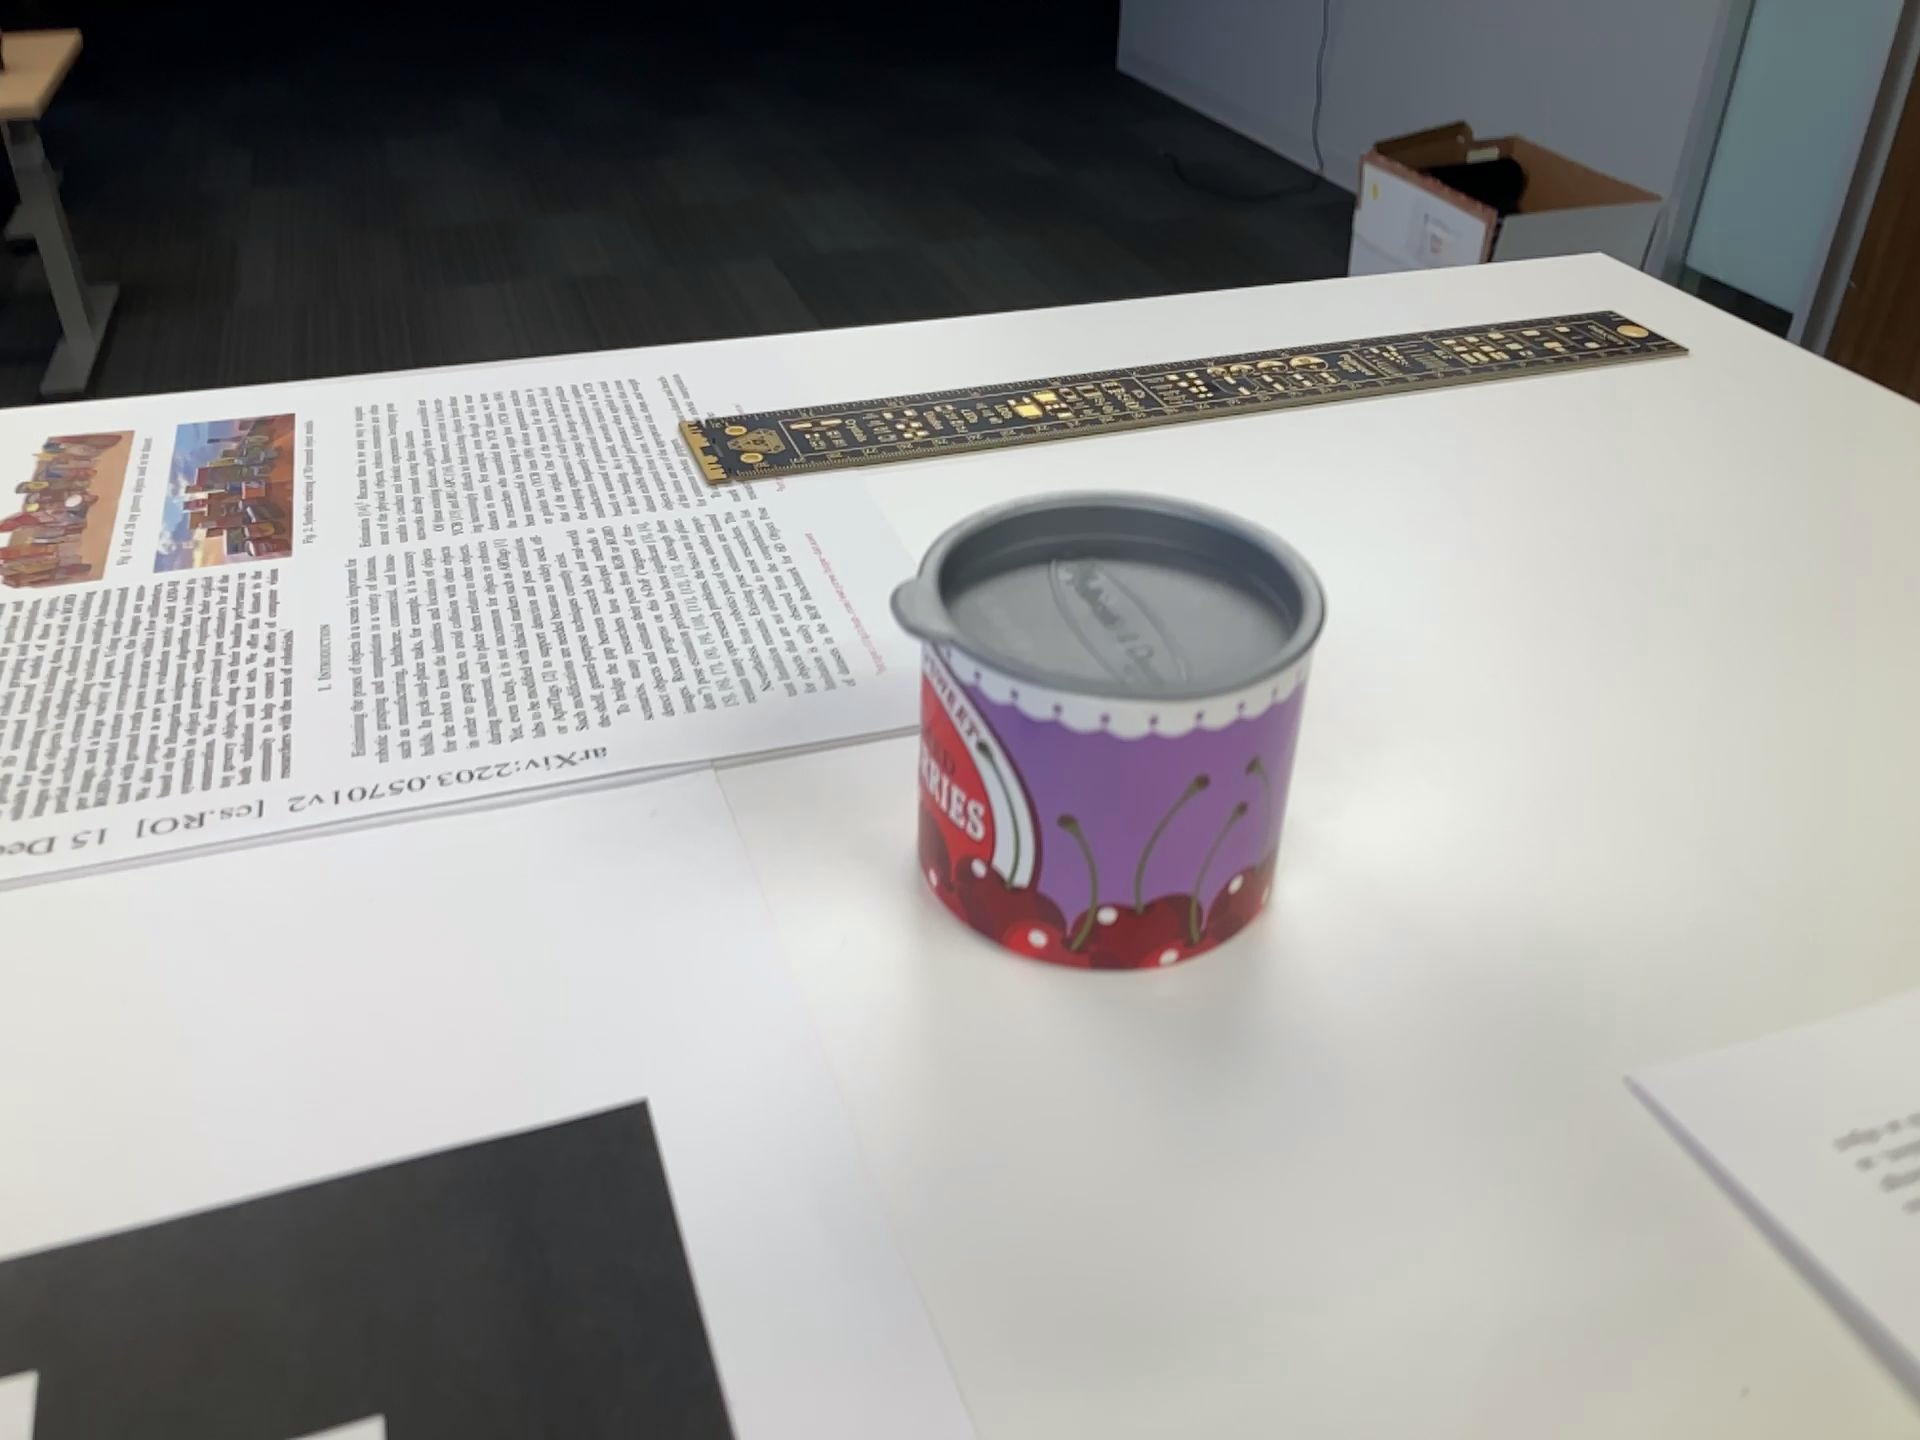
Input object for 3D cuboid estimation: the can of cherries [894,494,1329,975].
[{"bbox_3d":[0.023,0.001,0.272,0.071,0.058,0.071,1,34,-1],"label":"can of cherries"}]
